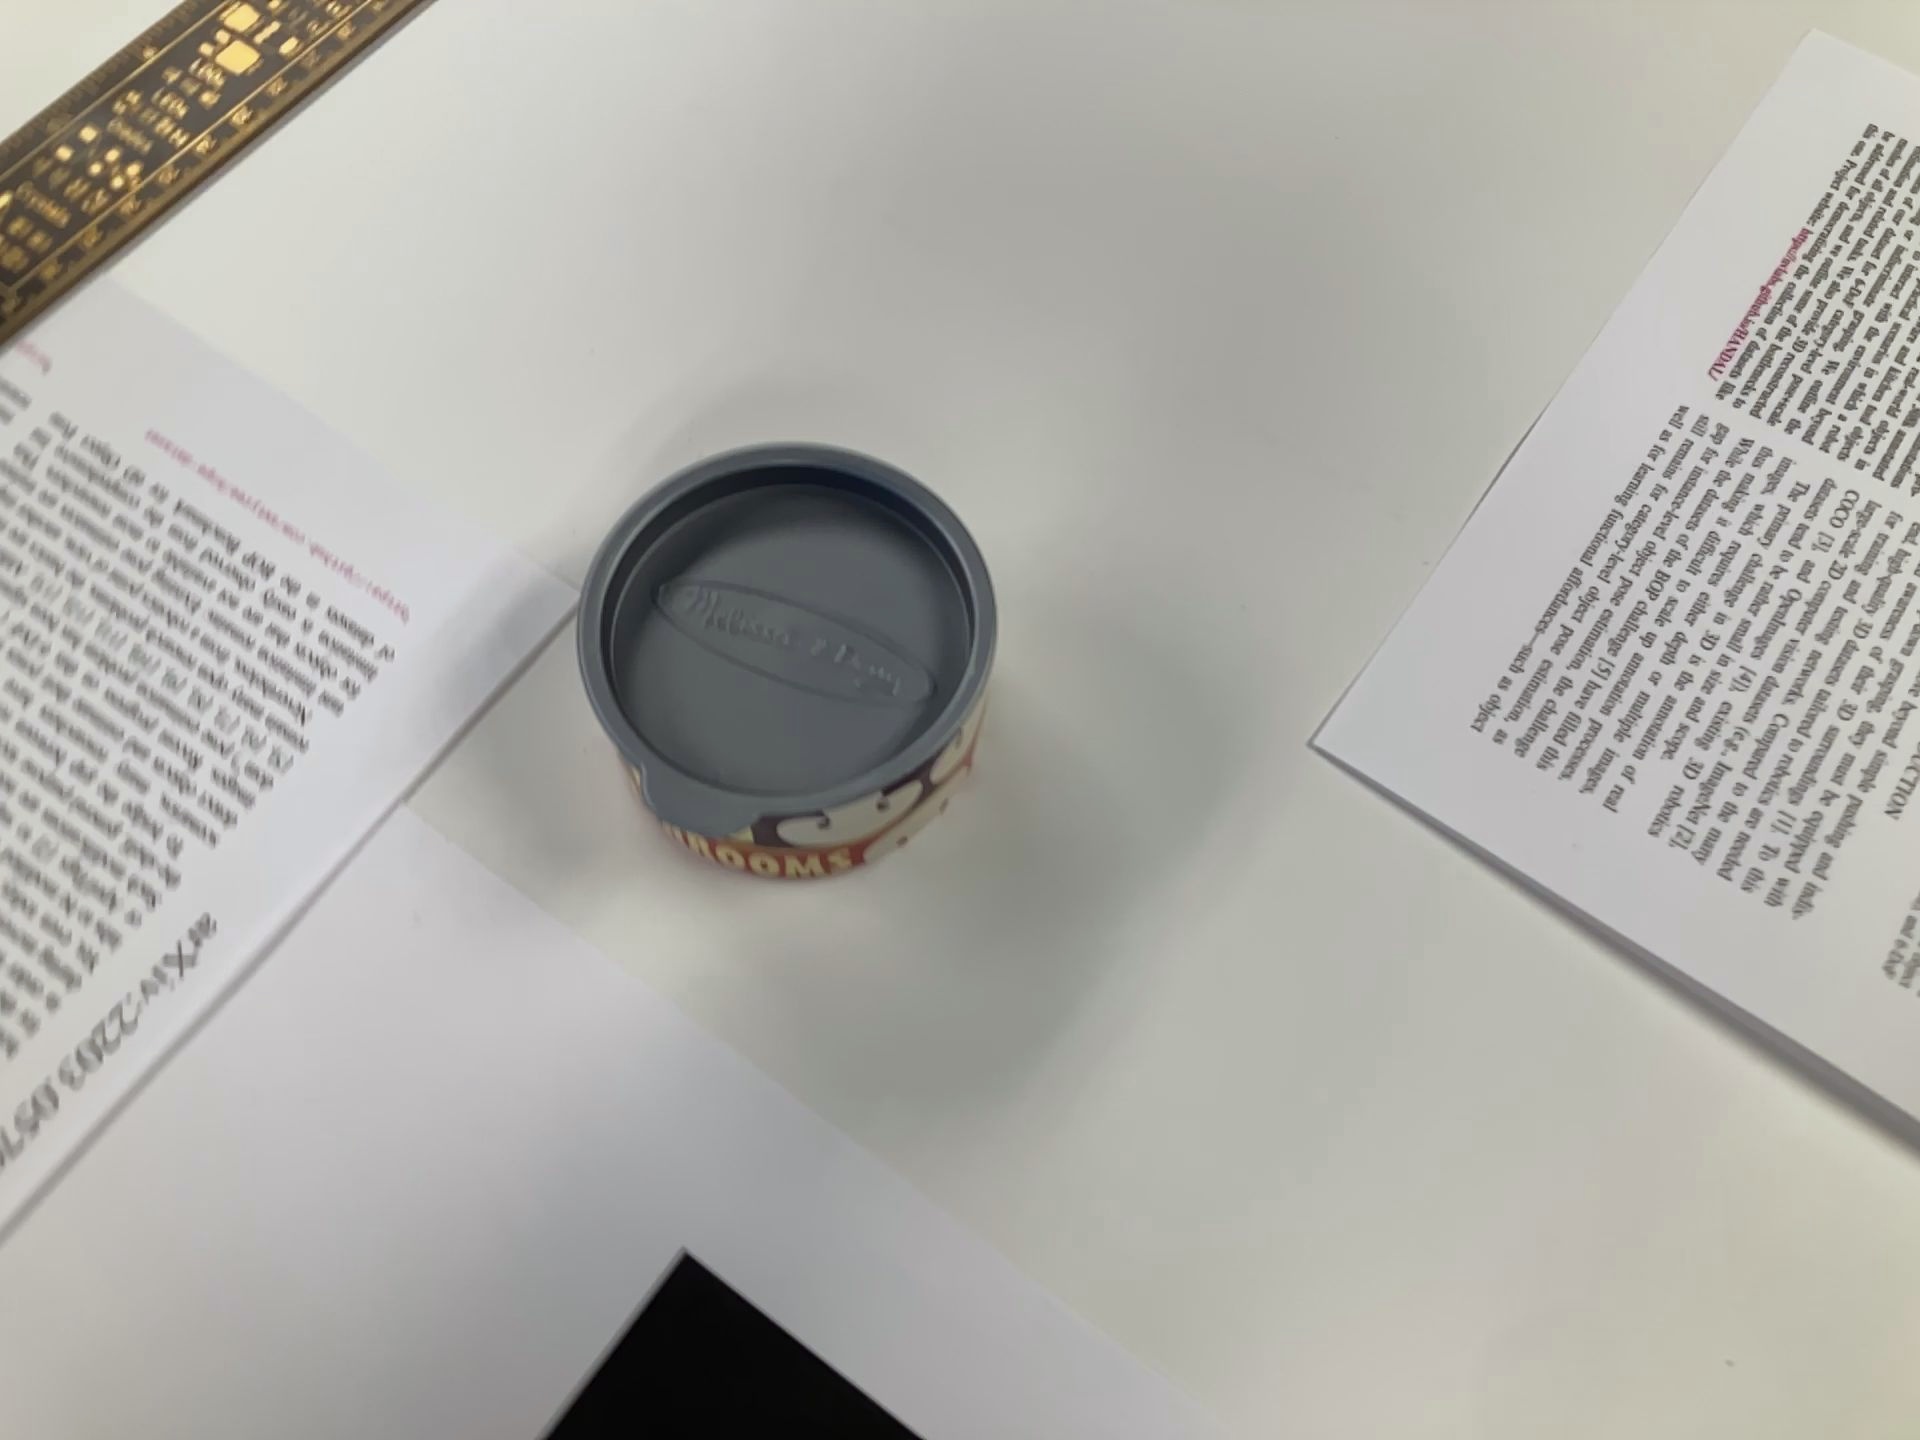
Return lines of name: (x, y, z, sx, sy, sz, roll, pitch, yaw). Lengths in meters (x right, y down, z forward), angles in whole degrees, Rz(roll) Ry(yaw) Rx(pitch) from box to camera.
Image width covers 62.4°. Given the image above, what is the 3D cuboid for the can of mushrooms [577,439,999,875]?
can of mushrooms: (-0.028, -0.008, 0.261, 0.071, 0.033, 0.071, 1, 66, -2)
